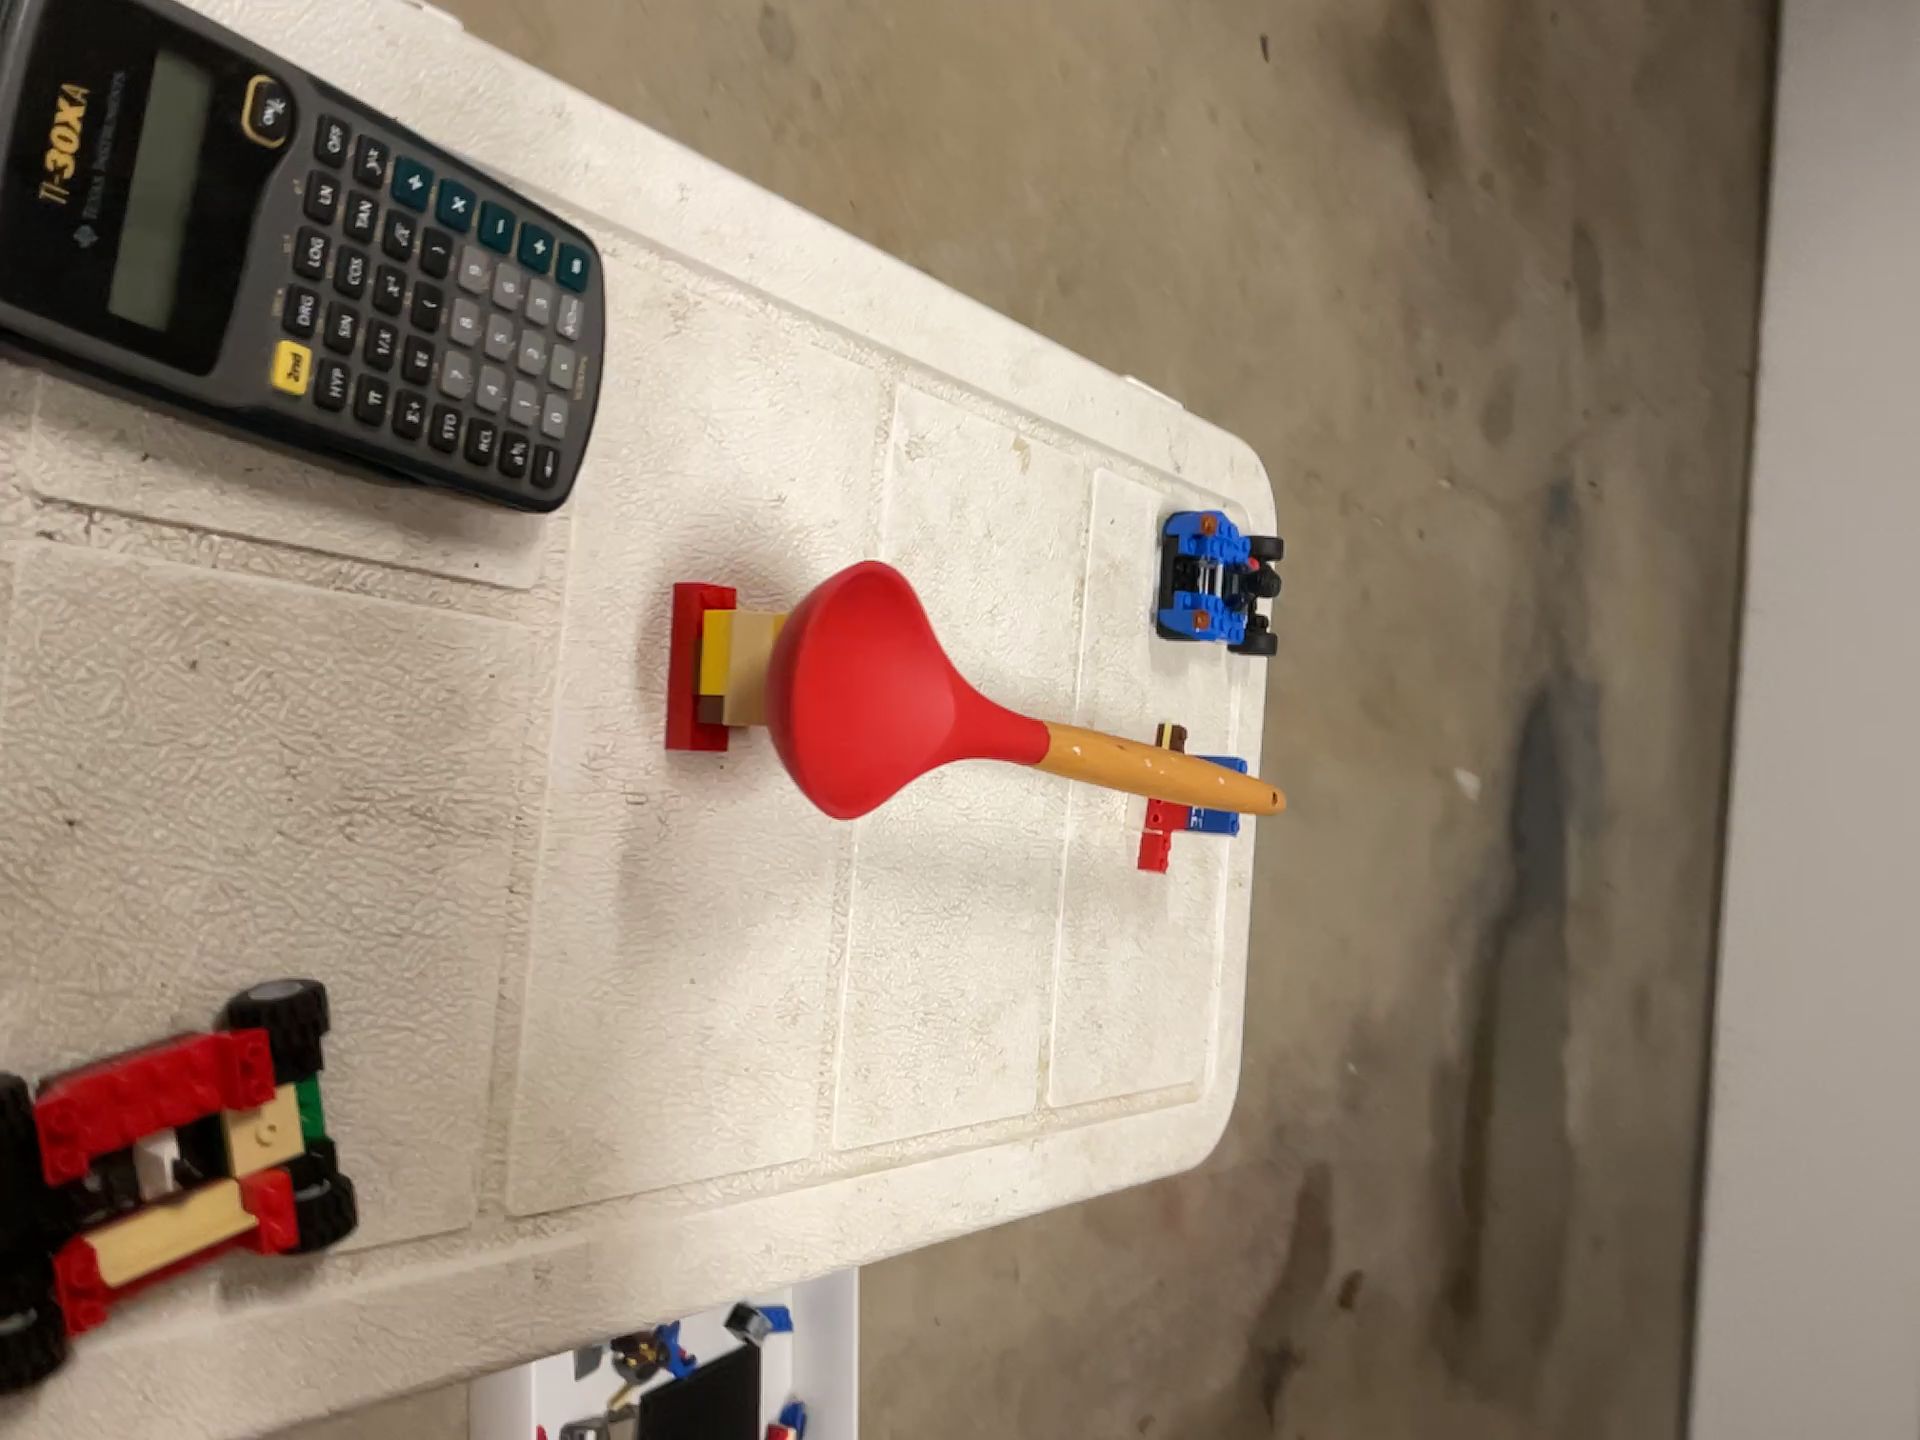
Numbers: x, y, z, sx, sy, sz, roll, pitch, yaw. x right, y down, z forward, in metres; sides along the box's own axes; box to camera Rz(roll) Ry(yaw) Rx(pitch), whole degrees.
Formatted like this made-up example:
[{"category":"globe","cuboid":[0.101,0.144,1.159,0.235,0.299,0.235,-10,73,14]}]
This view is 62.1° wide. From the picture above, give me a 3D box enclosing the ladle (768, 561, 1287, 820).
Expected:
[{"category":"ladle","cuboid":[0.039,0.010,0.523,0.315,0.031,0.069,15,85,-54]}]
